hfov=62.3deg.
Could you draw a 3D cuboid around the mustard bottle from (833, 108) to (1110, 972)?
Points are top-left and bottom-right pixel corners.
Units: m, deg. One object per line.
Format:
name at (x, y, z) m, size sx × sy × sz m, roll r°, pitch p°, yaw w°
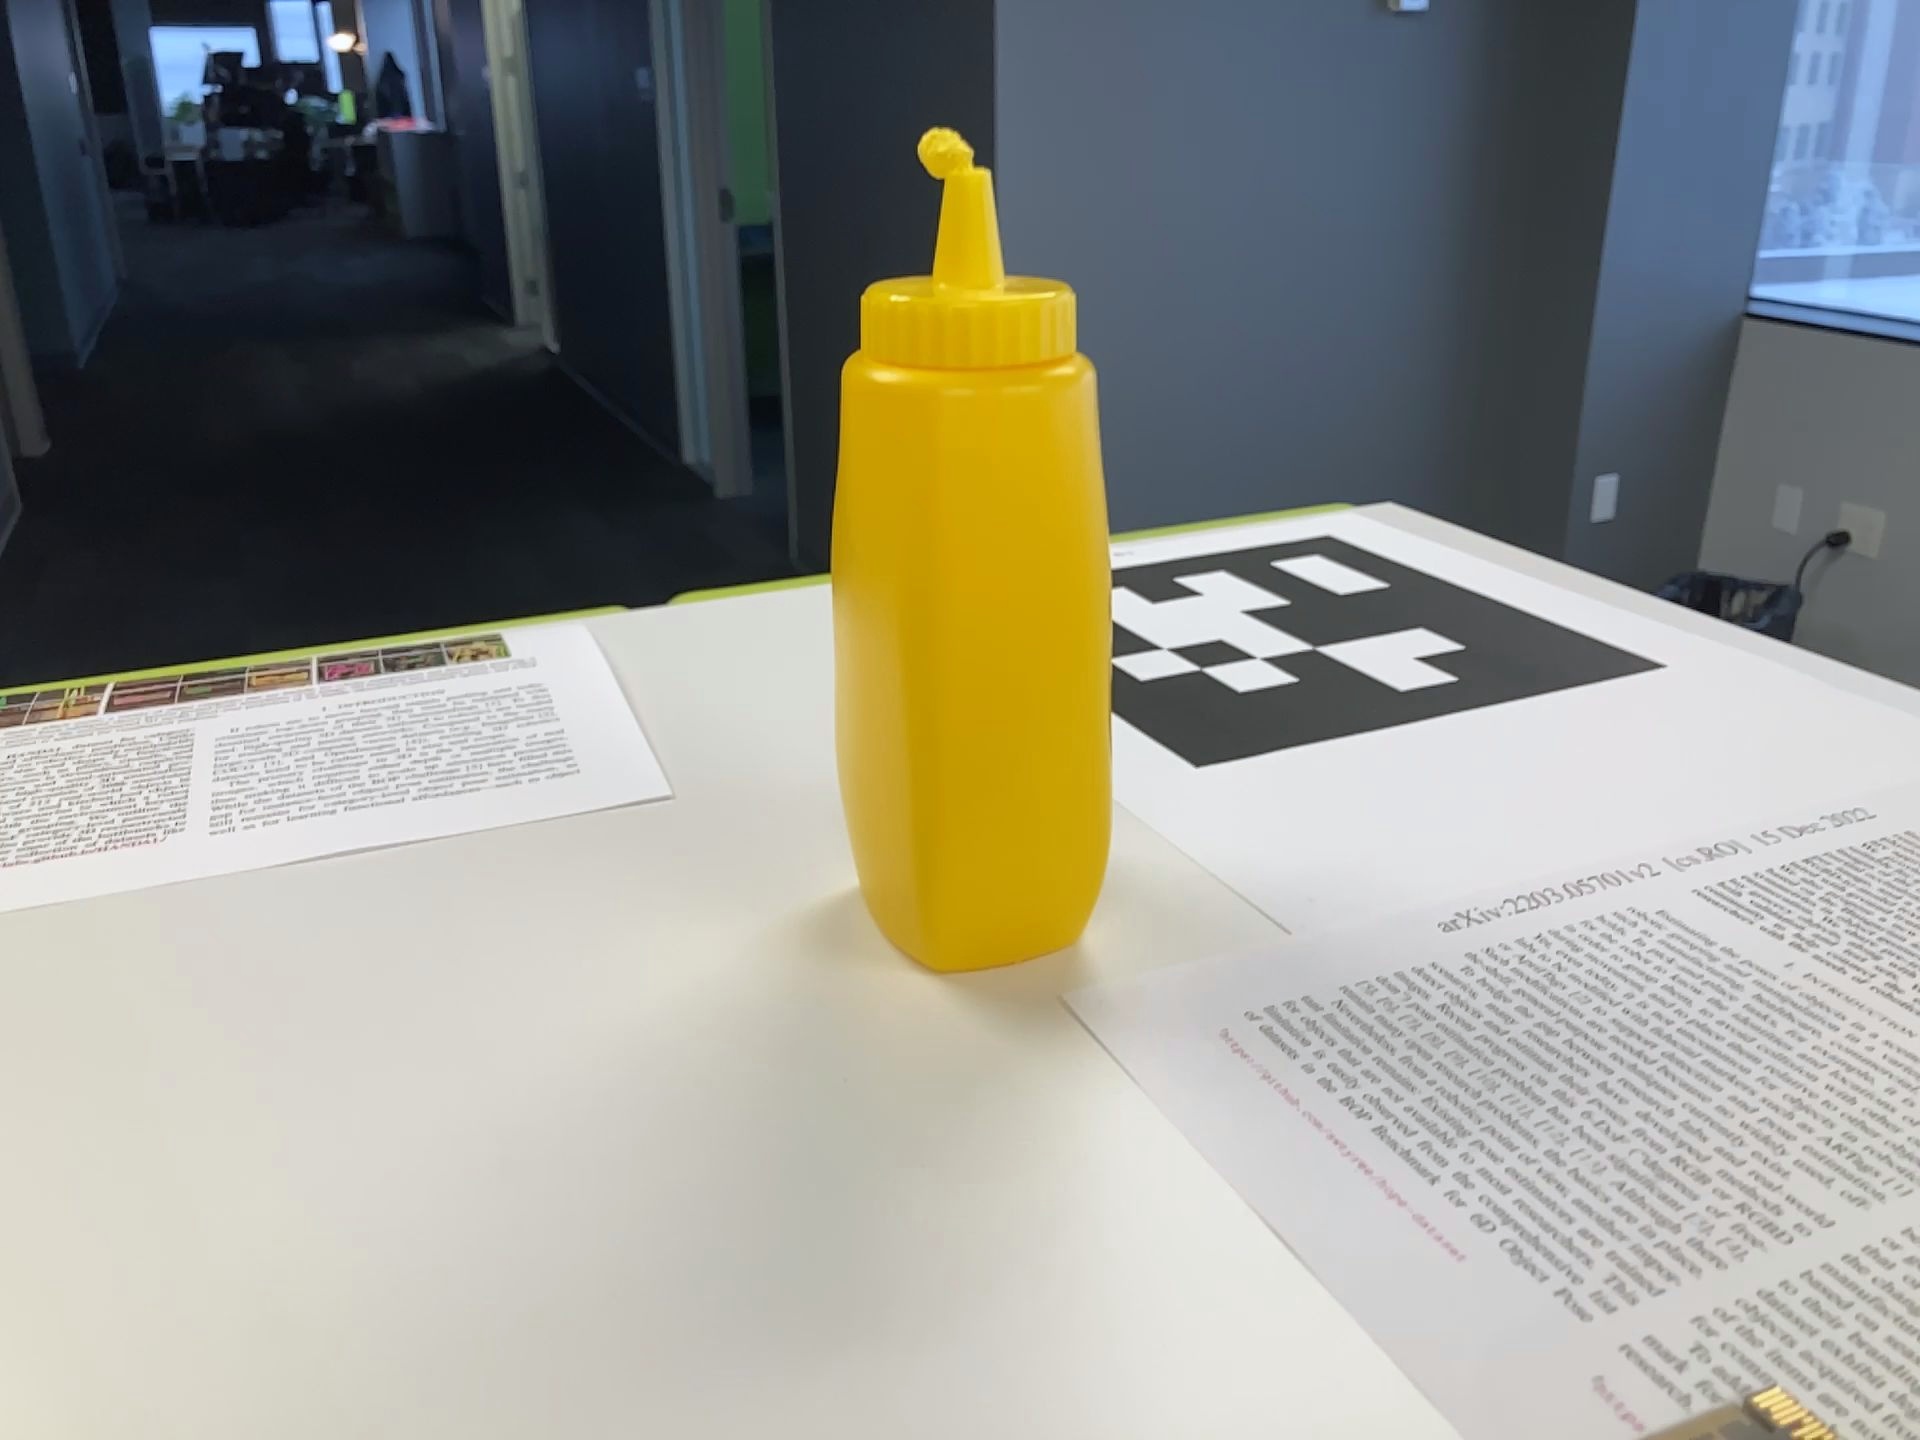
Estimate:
mustard bottle at (0.002, -0.033, 0.307) m, size 0.049 × 0.160 × 0.065 m, roll -7°, pitch 23°, yaw -18°
